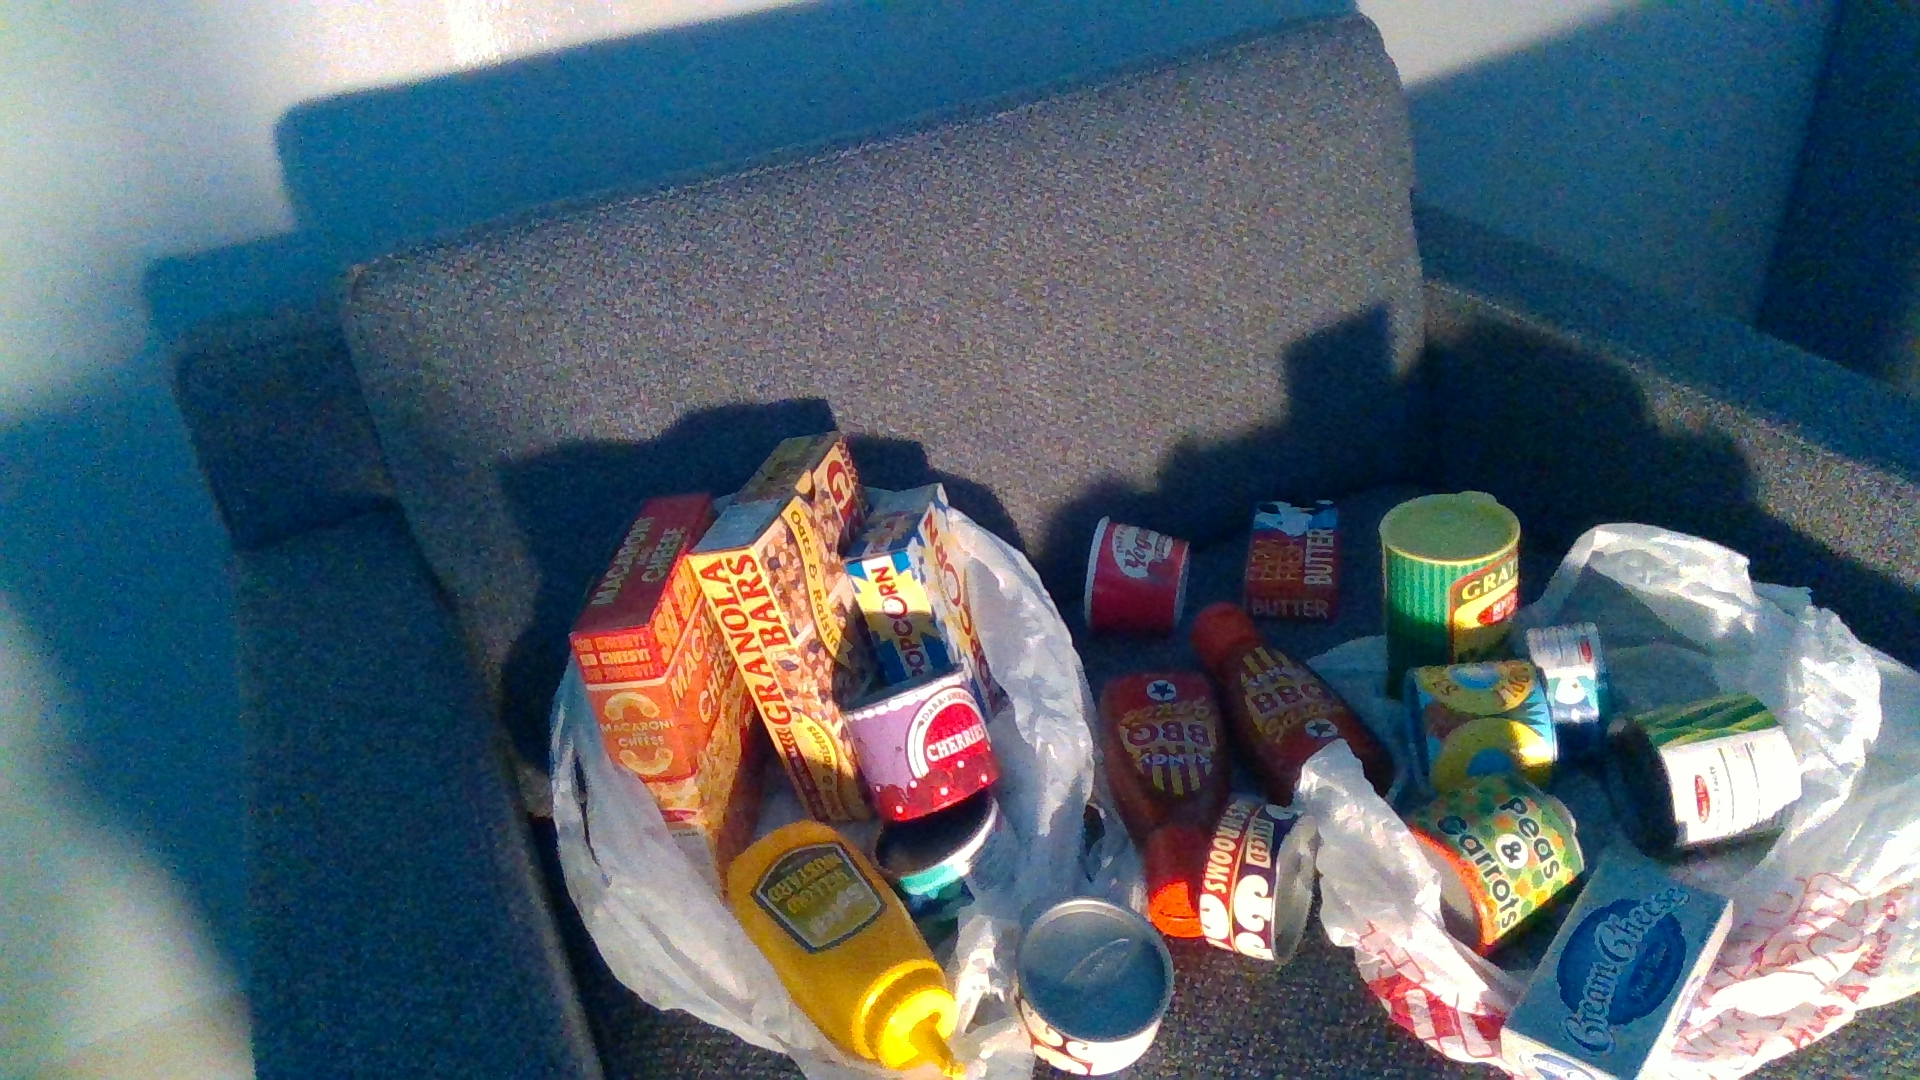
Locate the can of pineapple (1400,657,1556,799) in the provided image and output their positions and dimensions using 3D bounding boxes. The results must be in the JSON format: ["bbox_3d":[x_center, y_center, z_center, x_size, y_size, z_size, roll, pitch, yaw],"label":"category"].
[{"bbox_3d":[0.249,0.090,0.672,0.058,0.070,0.071,-5,31,7],"label":"can of pineapple"}]

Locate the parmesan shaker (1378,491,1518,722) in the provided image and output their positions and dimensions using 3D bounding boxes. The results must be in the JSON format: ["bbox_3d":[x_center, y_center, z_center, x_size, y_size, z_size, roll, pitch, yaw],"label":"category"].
[{"bbox_3d":[0.256,0.036,0.722,0.071,0.102,0.071,-9,29,6],"label":"parmesan shaker"}]

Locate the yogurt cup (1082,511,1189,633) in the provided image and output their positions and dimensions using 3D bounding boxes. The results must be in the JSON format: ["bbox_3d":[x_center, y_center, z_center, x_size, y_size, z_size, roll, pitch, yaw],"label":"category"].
[{"bbox_3d":[0.104,0.024,0.817,0.054,0.072,0.073,8,34,12],"label":"yogurt cup"}]

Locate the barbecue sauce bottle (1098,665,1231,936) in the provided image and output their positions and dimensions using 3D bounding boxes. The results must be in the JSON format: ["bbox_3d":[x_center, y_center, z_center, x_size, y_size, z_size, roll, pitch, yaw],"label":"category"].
[{"bbox_3d":[0.103,0.123,0.676,0.065,0.043,0.149,0,34,1],"label":"barbecue sauce bottle"}]

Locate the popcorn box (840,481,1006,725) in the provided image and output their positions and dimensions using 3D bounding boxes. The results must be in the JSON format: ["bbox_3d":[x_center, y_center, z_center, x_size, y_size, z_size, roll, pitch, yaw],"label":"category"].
[{"bbox_3d":[-0.014,0.044,0.736,0.038,0.126,0.085,-12,21,20],"label":"popcorn box"}]

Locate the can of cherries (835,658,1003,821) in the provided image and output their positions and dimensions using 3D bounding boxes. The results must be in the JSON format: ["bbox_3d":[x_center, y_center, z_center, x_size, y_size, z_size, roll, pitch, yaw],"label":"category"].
[{"bbox_3d":[-0.018,0.095,0.668,0.071,0.058,0.071,-20,3,1],"label":"can of cherries"}]

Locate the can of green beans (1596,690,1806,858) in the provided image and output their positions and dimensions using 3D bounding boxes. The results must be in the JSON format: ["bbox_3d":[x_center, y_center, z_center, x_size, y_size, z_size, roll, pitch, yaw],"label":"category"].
[{"bbox_3d":[0.333,0.104,0.625,0.058,0.071,0.071,-10,31,-1],"label":"can of green beans"}]

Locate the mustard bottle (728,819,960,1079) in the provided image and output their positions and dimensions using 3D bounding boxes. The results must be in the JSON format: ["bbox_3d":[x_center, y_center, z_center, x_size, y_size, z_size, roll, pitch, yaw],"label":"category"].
[{"bbox_3d":[-0.043,0.182,0.603,0.065,0.048,0.160,-28,35,-24],"label":"mustard bottle"}]

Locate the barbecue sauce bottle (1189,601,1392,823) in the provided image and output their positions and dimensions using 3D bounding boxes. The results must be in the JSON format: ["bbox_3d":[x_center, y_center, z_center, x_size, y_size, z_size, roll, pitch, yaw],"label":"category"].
[{"bbox_3d":[0.163,0.085,0.728,0.065,0.043,0.149,-8,30,-11],"label":"barbecue sauce bottle"}]

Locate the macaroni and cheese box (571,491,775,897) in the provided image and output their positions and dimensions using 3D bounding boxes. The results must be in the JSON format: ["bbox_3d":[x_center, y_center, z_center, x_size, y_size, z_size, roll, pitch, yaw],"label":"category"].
[{"bbox_3d":[-0.135,0.079,0.680,0.040,0.165,0.124,-6,29,7],"label":"macaroni and cheese box"}]

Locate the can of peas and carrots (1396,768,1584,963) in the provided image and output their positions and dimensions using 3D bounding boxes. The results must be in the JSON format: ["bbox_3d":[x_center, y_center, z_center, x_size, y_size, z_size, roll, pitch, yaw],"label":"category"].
[{"bbox_3d":[0.223,0.140,0.598,0.059,0.070,0.071,-23,34,-22],"label":"can of peas and carrots"}]

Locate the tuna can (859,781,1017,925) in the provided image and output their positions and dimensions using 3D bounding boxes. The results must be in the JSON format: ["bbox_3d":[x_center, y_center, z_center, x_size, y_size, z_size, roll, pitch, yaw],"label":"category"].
[{"bbox_3d":[-0.011,0.146,0.651,0.071,0.032,0.071,-24,20,10],"label":"tuna can"}]

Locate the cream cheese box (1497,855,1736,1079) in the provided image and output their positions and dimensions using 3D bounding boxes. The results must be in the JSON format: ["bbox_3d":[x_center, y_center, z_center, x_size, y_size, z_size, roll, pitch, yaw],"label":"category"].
[{"bbox_3d":[0.262,0.175,0.552,0.053,0.024,0.104,13,43,44],"label":"cream cheese box"}]

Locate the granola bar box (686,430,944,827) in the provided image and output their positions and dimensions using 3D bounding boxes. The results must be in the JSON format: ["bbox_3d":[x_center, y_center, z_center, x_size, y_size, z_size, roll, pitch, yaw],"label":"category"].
[{"bbox_3d":[-0.067,0.043,0.718,0.039,0.165,0.125,-10,26,23],"label":"granola bar box"}]

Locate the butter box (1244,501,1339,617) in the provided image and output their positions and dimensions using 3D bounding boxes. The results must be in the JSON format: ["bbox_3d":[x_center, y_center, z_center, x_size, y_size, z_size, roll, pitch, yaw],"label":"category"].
[{"bbox_3d":[0.204,0.011,0.852,0.053,0.024,0.104,-1,30,17],"label":"butter box"}]

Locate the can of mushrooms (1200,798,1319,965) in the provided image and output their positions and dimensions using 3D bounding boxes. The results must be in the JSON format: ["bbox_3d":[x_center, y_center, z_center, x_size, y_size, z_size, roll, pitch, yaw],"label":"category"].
[{"bbox_3d":[0.131,0.147,0.606,0.033,0.070,0.071,9,35,30],"label":"can of mushrooms"}]

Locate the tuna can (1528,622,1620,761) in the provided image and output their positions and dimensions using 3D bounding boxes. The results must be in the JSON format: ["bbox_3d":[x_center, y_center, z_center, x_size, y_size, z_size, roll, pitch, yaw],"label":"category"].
[{"bbox_3d":[0.301,0.077,0.683,0.033,0.070,0.071,-9,30,20],"label":"tuna can"}]

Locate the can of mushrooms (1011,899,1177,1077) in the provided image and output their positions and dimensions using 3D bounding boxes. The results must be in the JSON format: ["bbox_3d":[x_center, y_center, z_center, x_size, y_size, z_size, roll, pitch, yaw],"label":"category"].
[{"bbox_3d":[0.054,0.187,0.585,0.071,0.033,0.071,4,42,-4],"label":"can of mushrooms"}]
